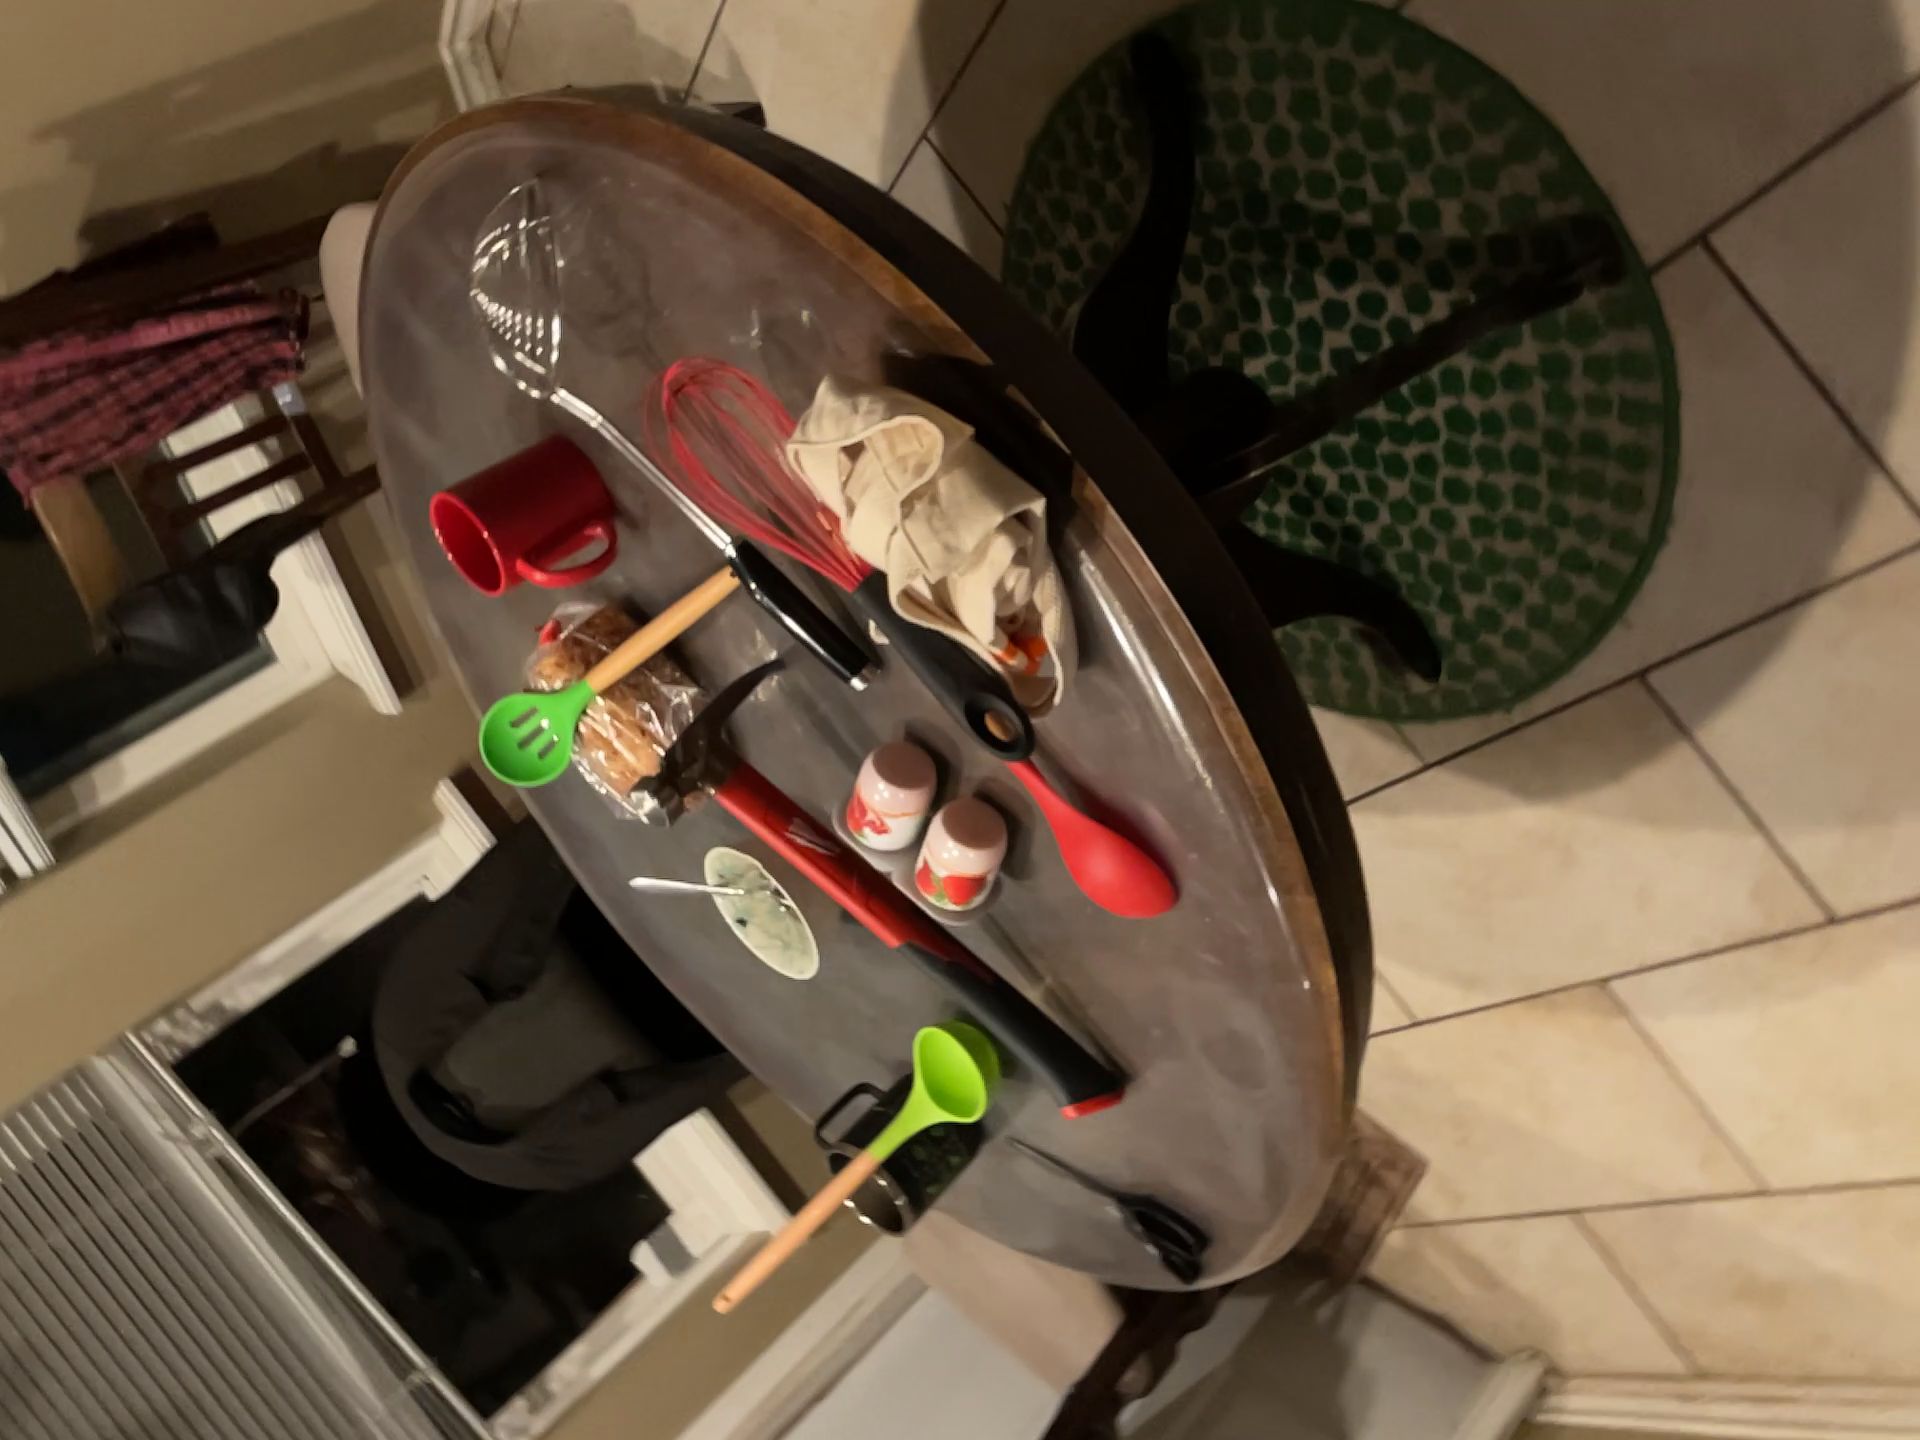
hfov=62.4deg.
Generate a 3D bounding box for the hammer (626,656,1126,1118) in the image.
[{"bbox_3d":[-0.033,0.124,1.076,0.386,0.143,0.038,40,149,-4],"label":"hammer"}]

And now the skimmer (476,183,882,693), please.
[{"bbox_3d":[-0.166,-0.171,0.992,0.363,0.090,0.127,44,157,-8],"label":"skimmer"}]

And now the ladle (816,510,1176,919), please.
[{"bbox_3d":[0.015,-0.004,0.933,0.315,0.031,0.069,52,148,4],"label":"ladle"}]

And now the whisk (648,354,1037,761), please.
[{"bbox_3d":[-0.064,-0.088,0.855,0.296,0.073,0.073,47,146,7],"label":"whisk"}]

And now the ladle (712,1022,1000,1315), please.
[{"bbox_3d":[-0.088,0.350,1.206,0.078,0.320,0.062,49,-167,25],"label":"ladle"}]

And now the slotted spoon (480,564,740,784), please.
[{"bbox_3d":[-0.243,-0.038,1.125,0.314,0.031,0.070,-32,101,35],"label":"slotted spoon"}]
